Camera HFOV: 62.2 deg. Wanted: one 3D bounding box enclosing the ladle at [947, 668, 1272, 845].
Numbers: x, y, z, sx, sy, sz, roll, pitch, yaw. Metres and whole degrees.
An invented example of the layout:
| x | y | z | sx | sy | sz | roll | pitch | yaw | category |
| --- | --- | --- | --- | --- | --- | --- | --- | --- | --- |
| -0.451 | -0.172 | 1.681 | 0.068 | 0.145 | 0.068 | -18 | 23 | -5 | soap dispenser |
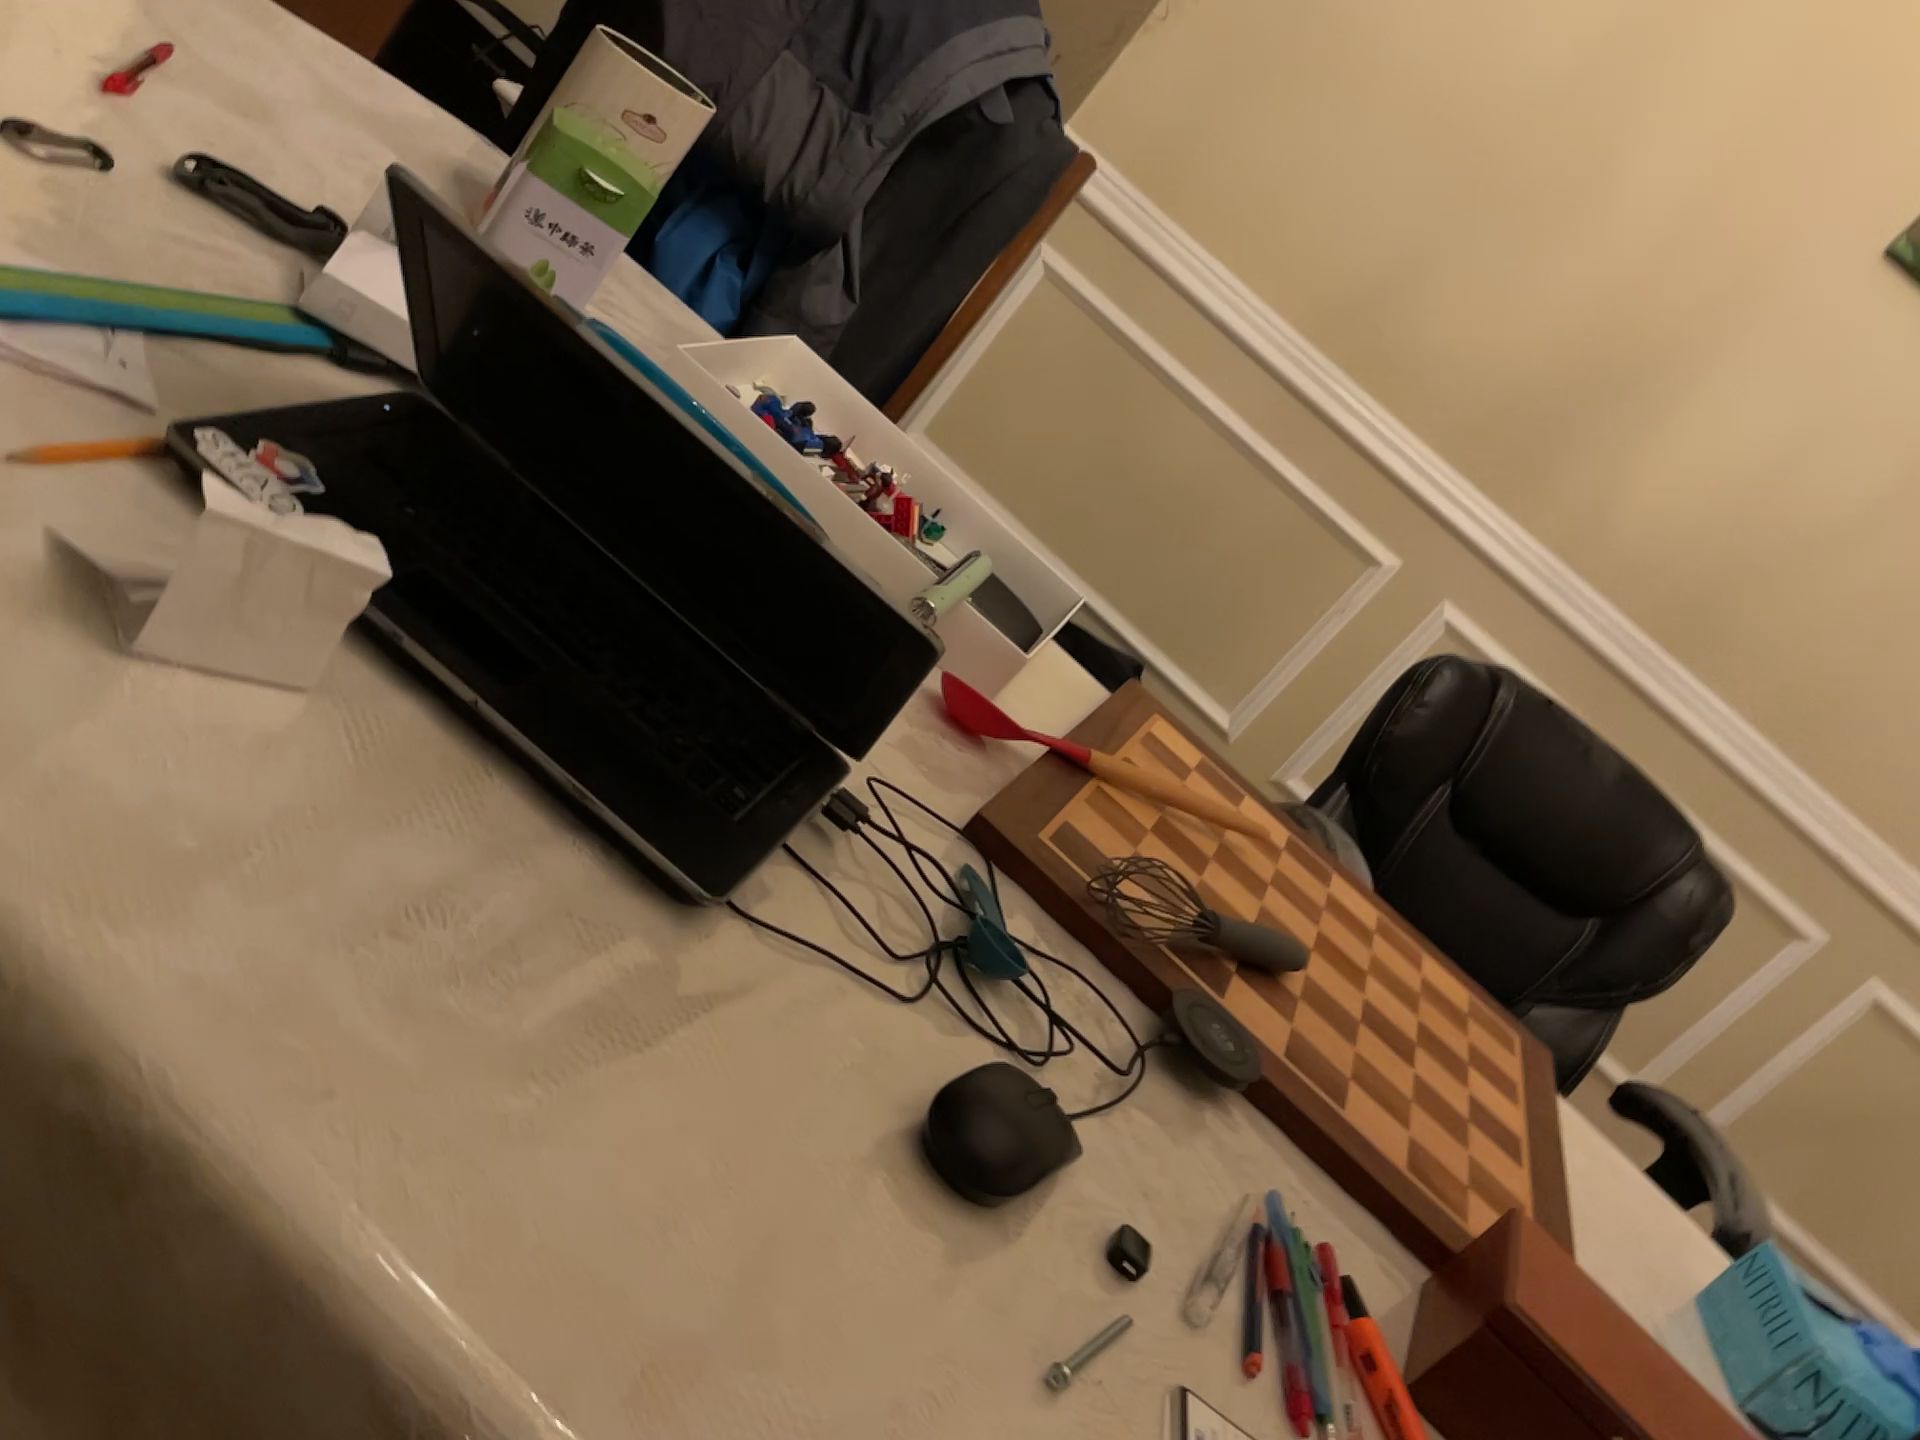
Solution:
| x | y | z | sx | sy | sz | roll | pitch | yaw | category |
| --- | --- | --- | --- | --- | --- | --- | --- | --- | --- |
| 0.117 | 0.036 | 1.192 | 0.315 | 0.031 | 0.069 | 25 | 3 | -27 | ladle |

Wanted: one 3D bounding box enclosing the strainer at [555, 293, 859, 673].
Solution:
| x | y | z | sx | sy | sz | roll | pitch | yaw | category |
| --- | --- | --- | --- | --- | --- | --- | --- | --- | --- |
| -0.149 | -0.104 | 0.940 | 0.210 | 0.095 | 0.341 | 38 | 11 | -48 | strainer |

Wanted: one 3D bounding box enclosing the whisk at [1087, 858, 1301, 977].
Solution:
| x | y | z | sx | sy | sz | roll | pitch | yaw | category |
| --- | --- | --- | --- | --- | --- | --- | --- | --- | --- |
| 0.161 | 0.138 | 1.047 | 0.238 | 0.055 | 0.055 | 27 | 38 | -44 | whisk |

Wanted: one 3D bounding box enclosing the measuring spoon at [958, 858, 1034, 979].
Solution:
| x | y | z | sx | sy | sz | roll | pitch | yaw | category |
| --- | --- | --- | --- | --- | --- | --- | --- | --- | --- |
| 0.010 | 0.113 | 0.909 | 0.042 | 0.021 | 0.129 | 41 | 7 | -21 | measuring spoon |

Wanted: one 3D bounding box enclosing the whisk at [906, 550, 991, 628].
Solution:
| x | y | z | sx | sy | sz | roll | pitch | yaw | category |
| --- | --- | --- | --- | --- | --- | --- | --- | --- | --- |
| -0.032 | -0.072 | 1.110 | 0.246 | 0.058 | 0.059 | -46 | 118 | -56 | whisk |
